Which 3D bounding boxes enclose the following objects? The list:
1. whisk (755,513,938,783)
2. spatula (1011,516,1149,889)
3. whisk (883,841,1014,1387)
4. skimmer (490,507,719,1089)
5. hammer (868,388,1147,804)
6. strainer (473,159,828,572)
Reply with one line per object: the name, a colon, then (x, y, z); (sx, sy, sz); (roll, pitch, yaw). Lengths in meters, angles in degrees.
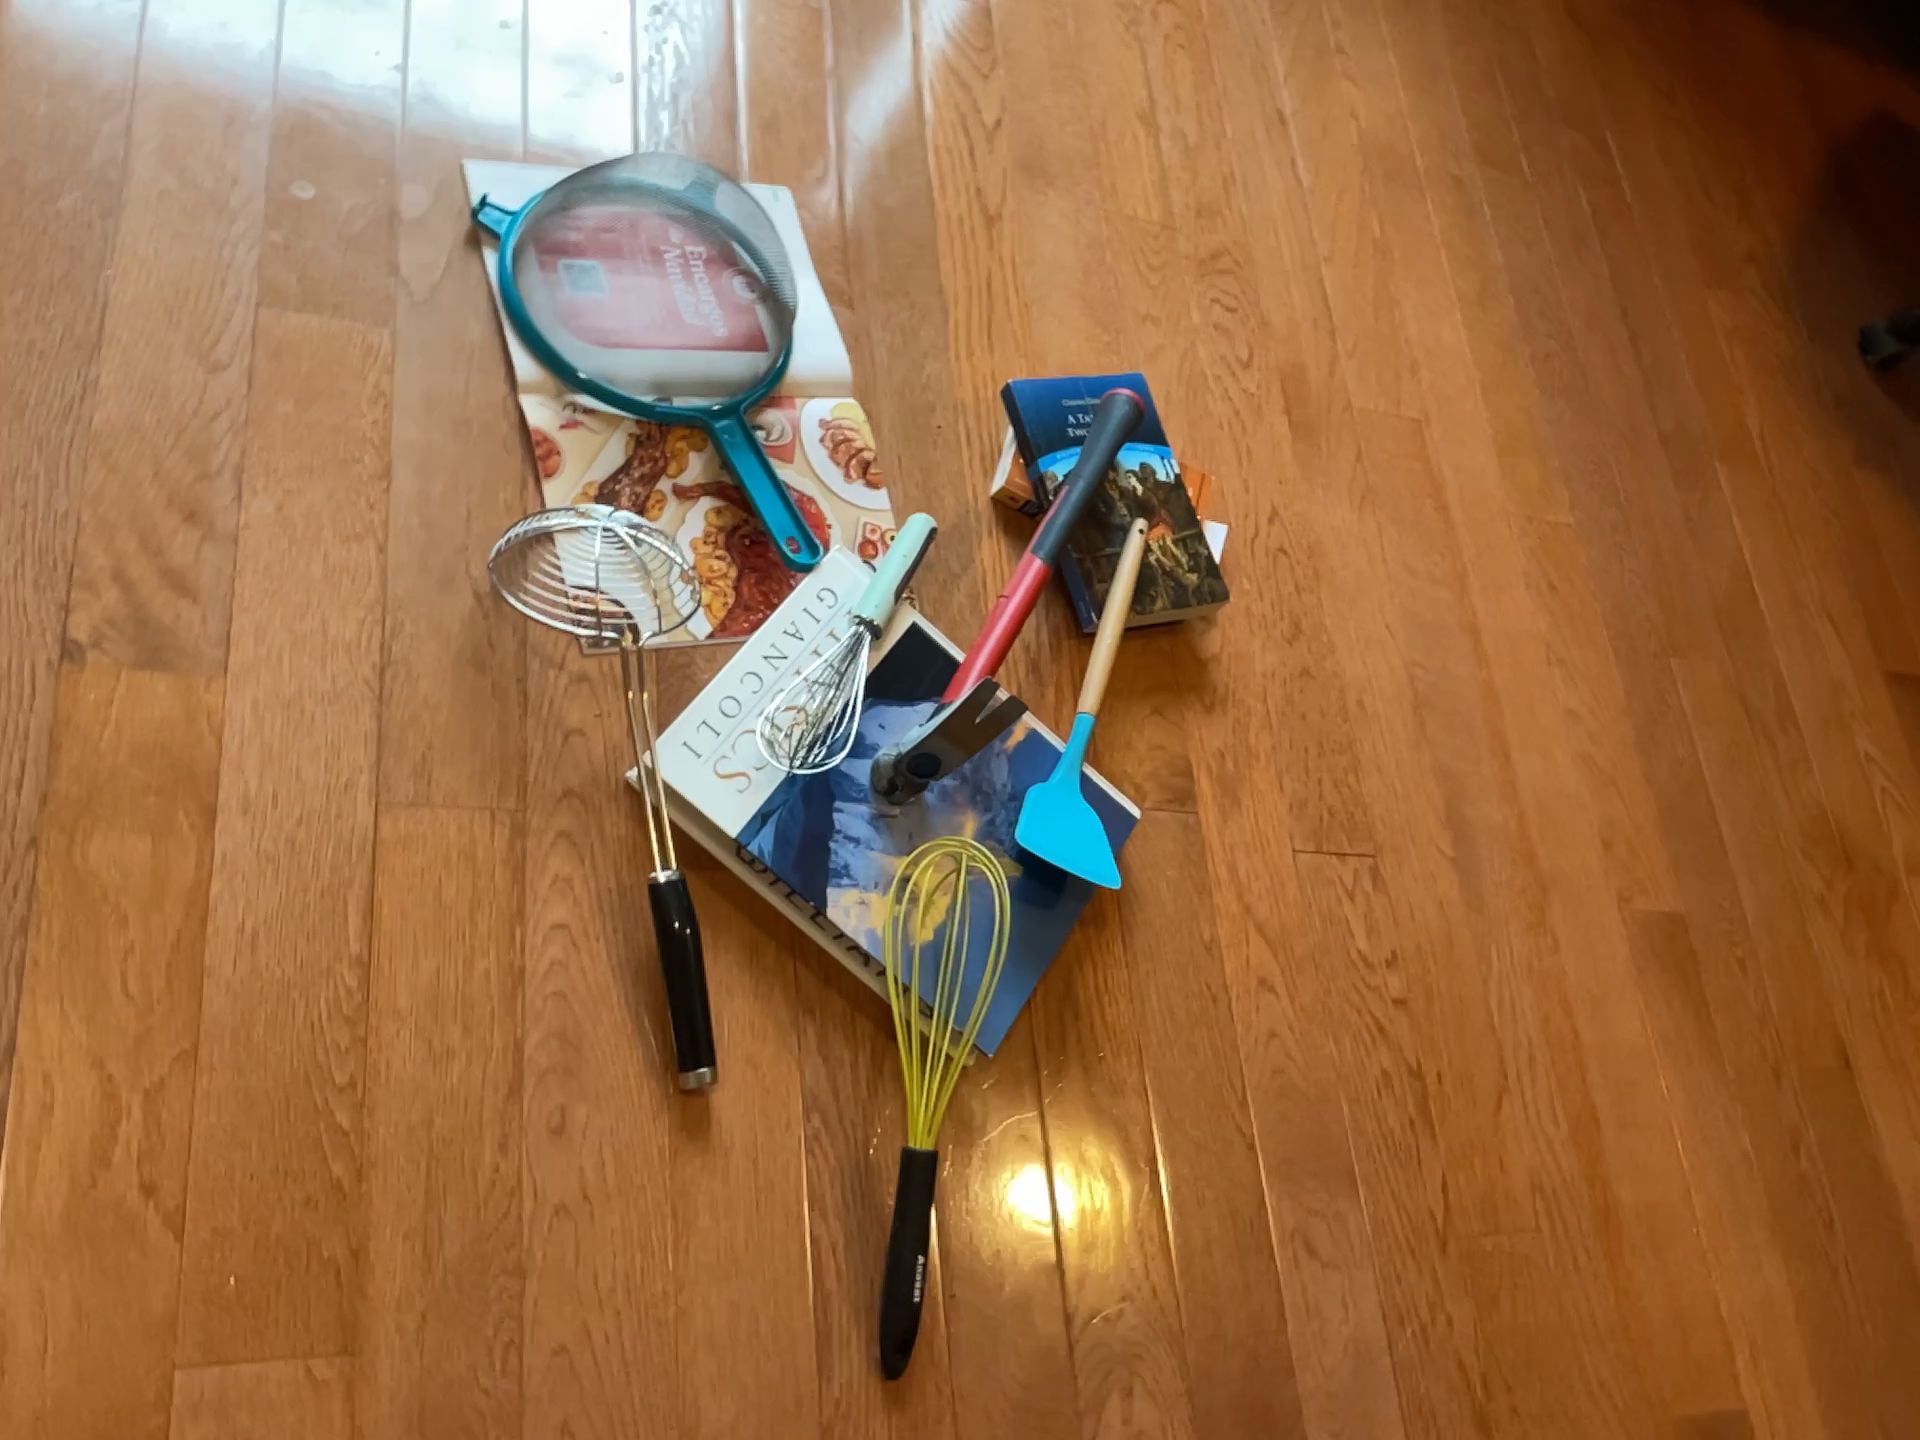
whisk: (-0.064, -0.053, 1.031); (0.059, 0.057, 0.247); (15, 50, 13)
spatula: (0.099, -0.026, 1.104); (0.082, 0.044, 0.318); (27, 57, -14)
whisk: (-0.020, 0.225, 0.934); (0.080, 0.067, 0.312); (17, 74, -39)
skimmer: (-0.197, 0.039, 0.964); (0.127, 0.090, 0.363); (-6, 81, -33)
hammer: (0.060, -0.111, 1.075); (0.038, 0.143, 0.387); (38, 52, -12)
strainer: (-0.167, -0.259, 1.071); (0.211, 0.095, 0.340); (-20, 71, -35)
